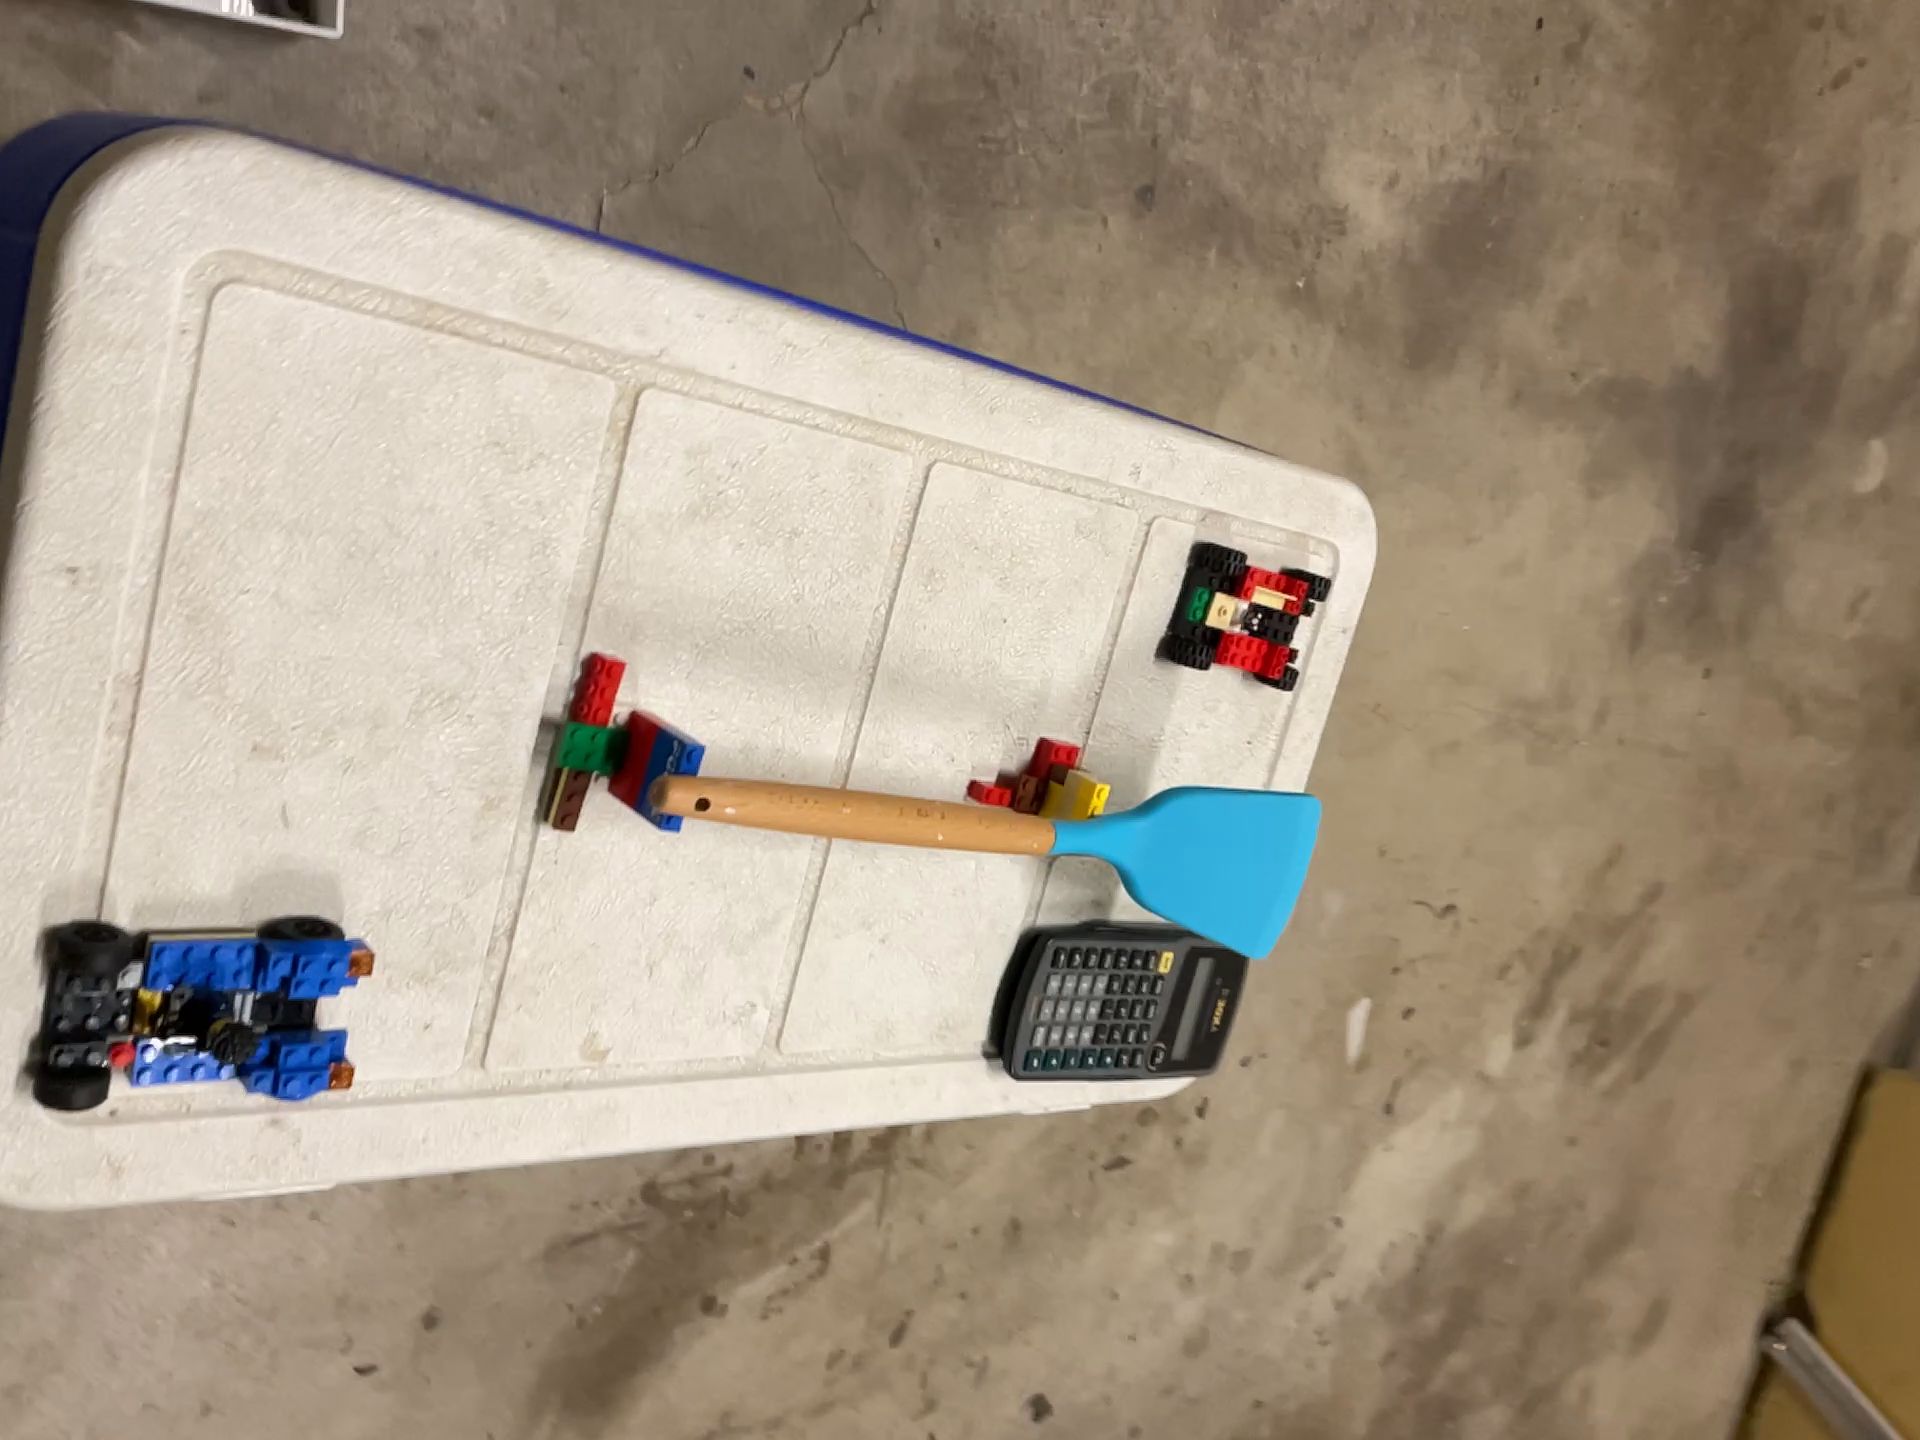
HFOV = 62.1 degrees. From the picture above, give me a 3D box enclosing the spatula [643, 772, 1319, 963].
[{"bbox_3d":[0.020,0.046,0.625,0.317,0.044,0.082,10,104,-41],"label":"spatula"}]
